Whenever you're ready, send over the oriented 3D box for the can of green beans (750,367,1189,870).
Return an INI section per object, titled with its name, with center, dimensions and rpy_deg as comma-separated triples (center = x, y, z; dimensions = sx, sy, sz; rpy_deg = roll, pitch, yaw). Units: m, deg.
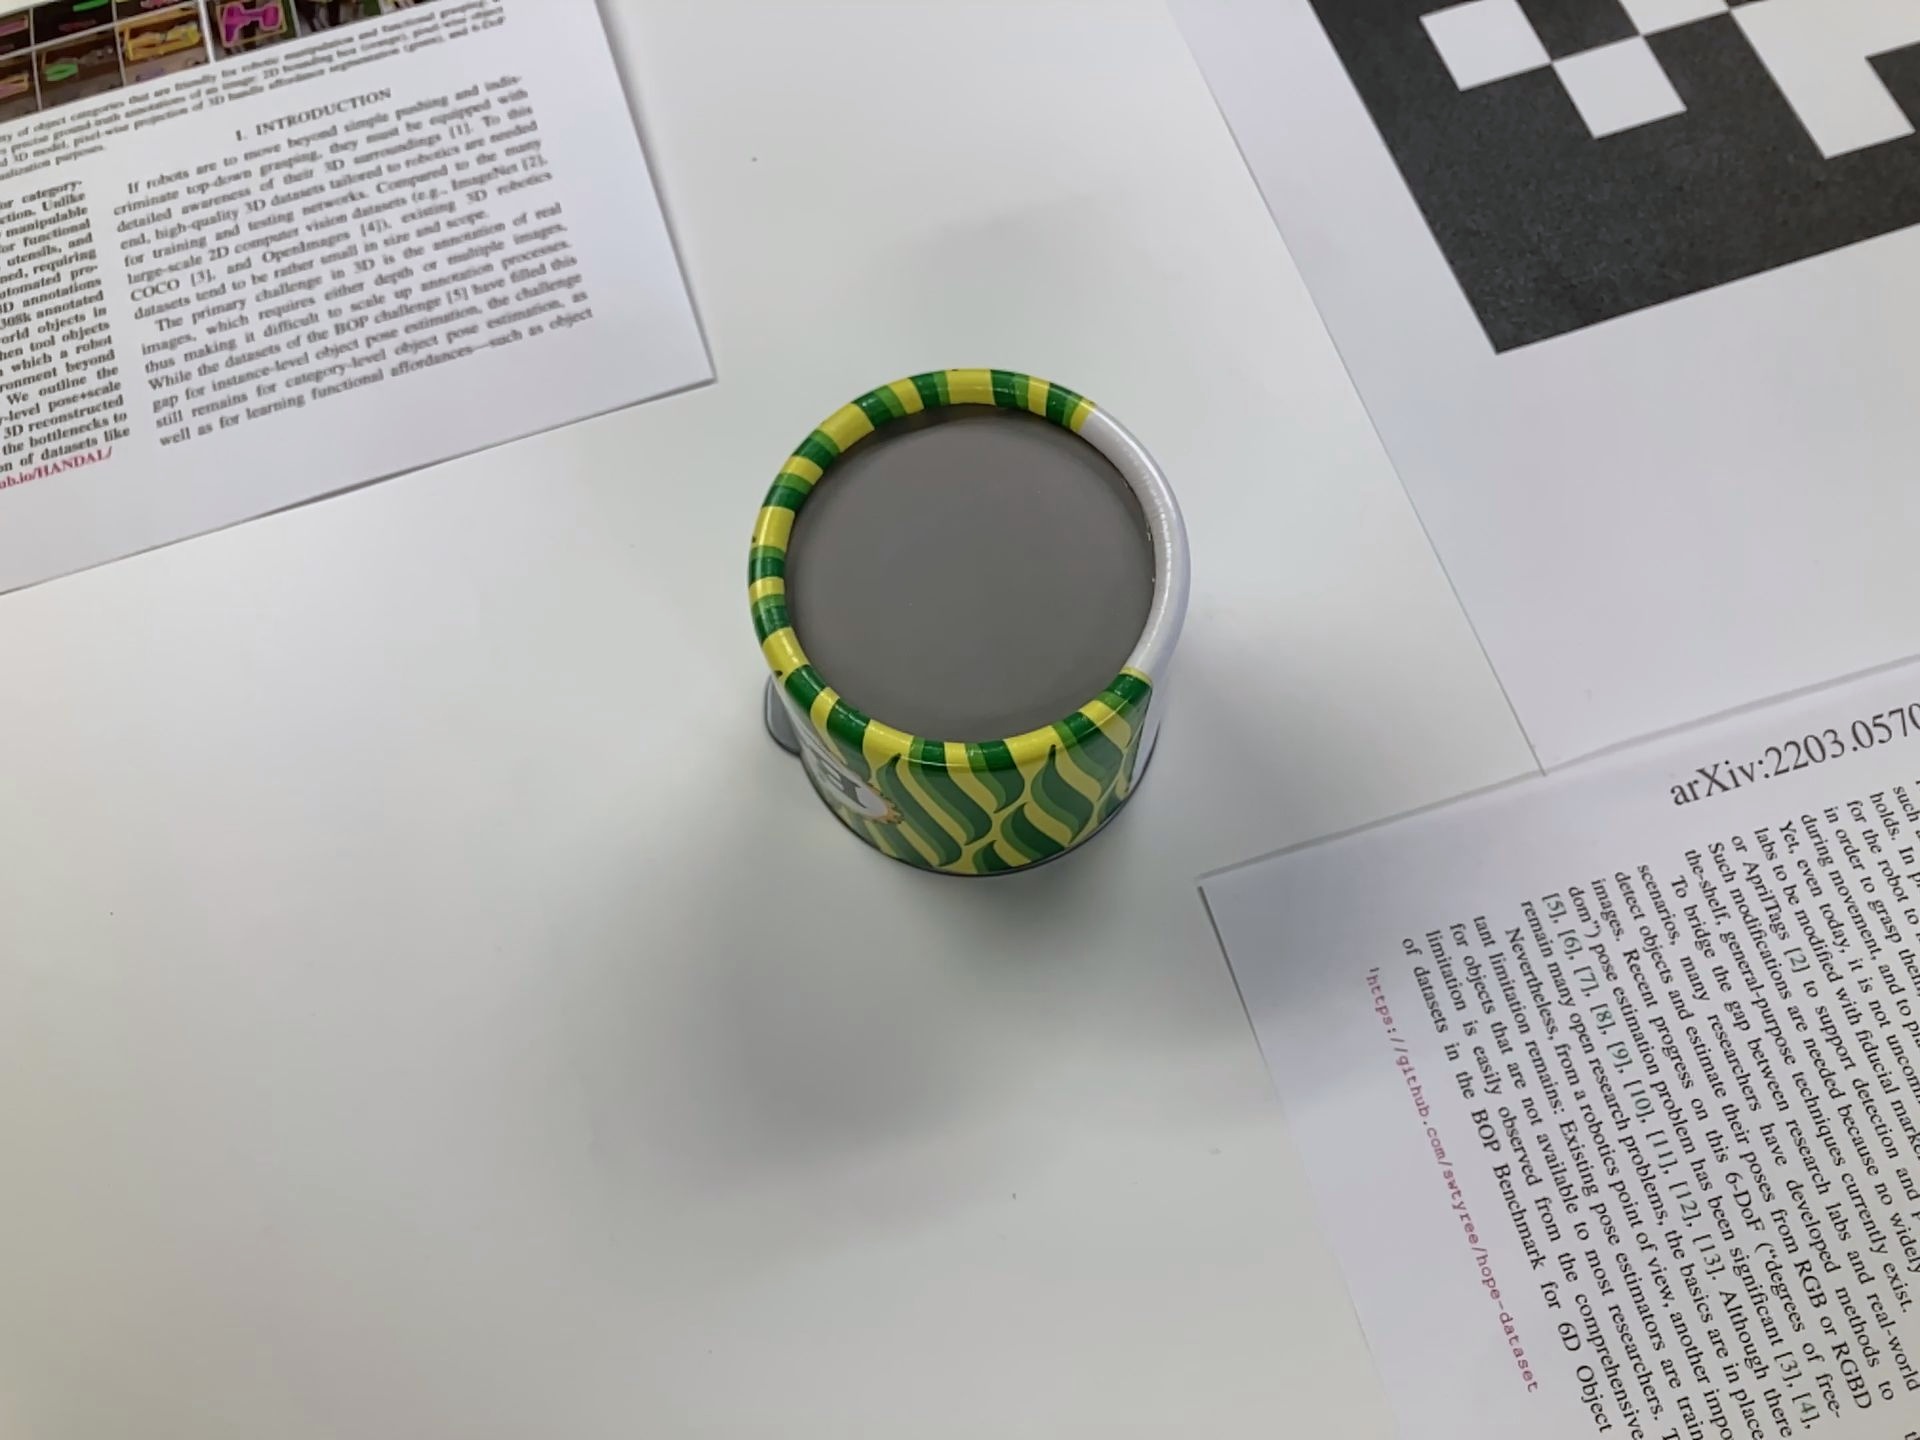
[can of green beans]
center = 0.002, -0.015, 0.262
dimensions = 0.071, 0.058, 0.071
rpy_deg = -1, 70, 2
